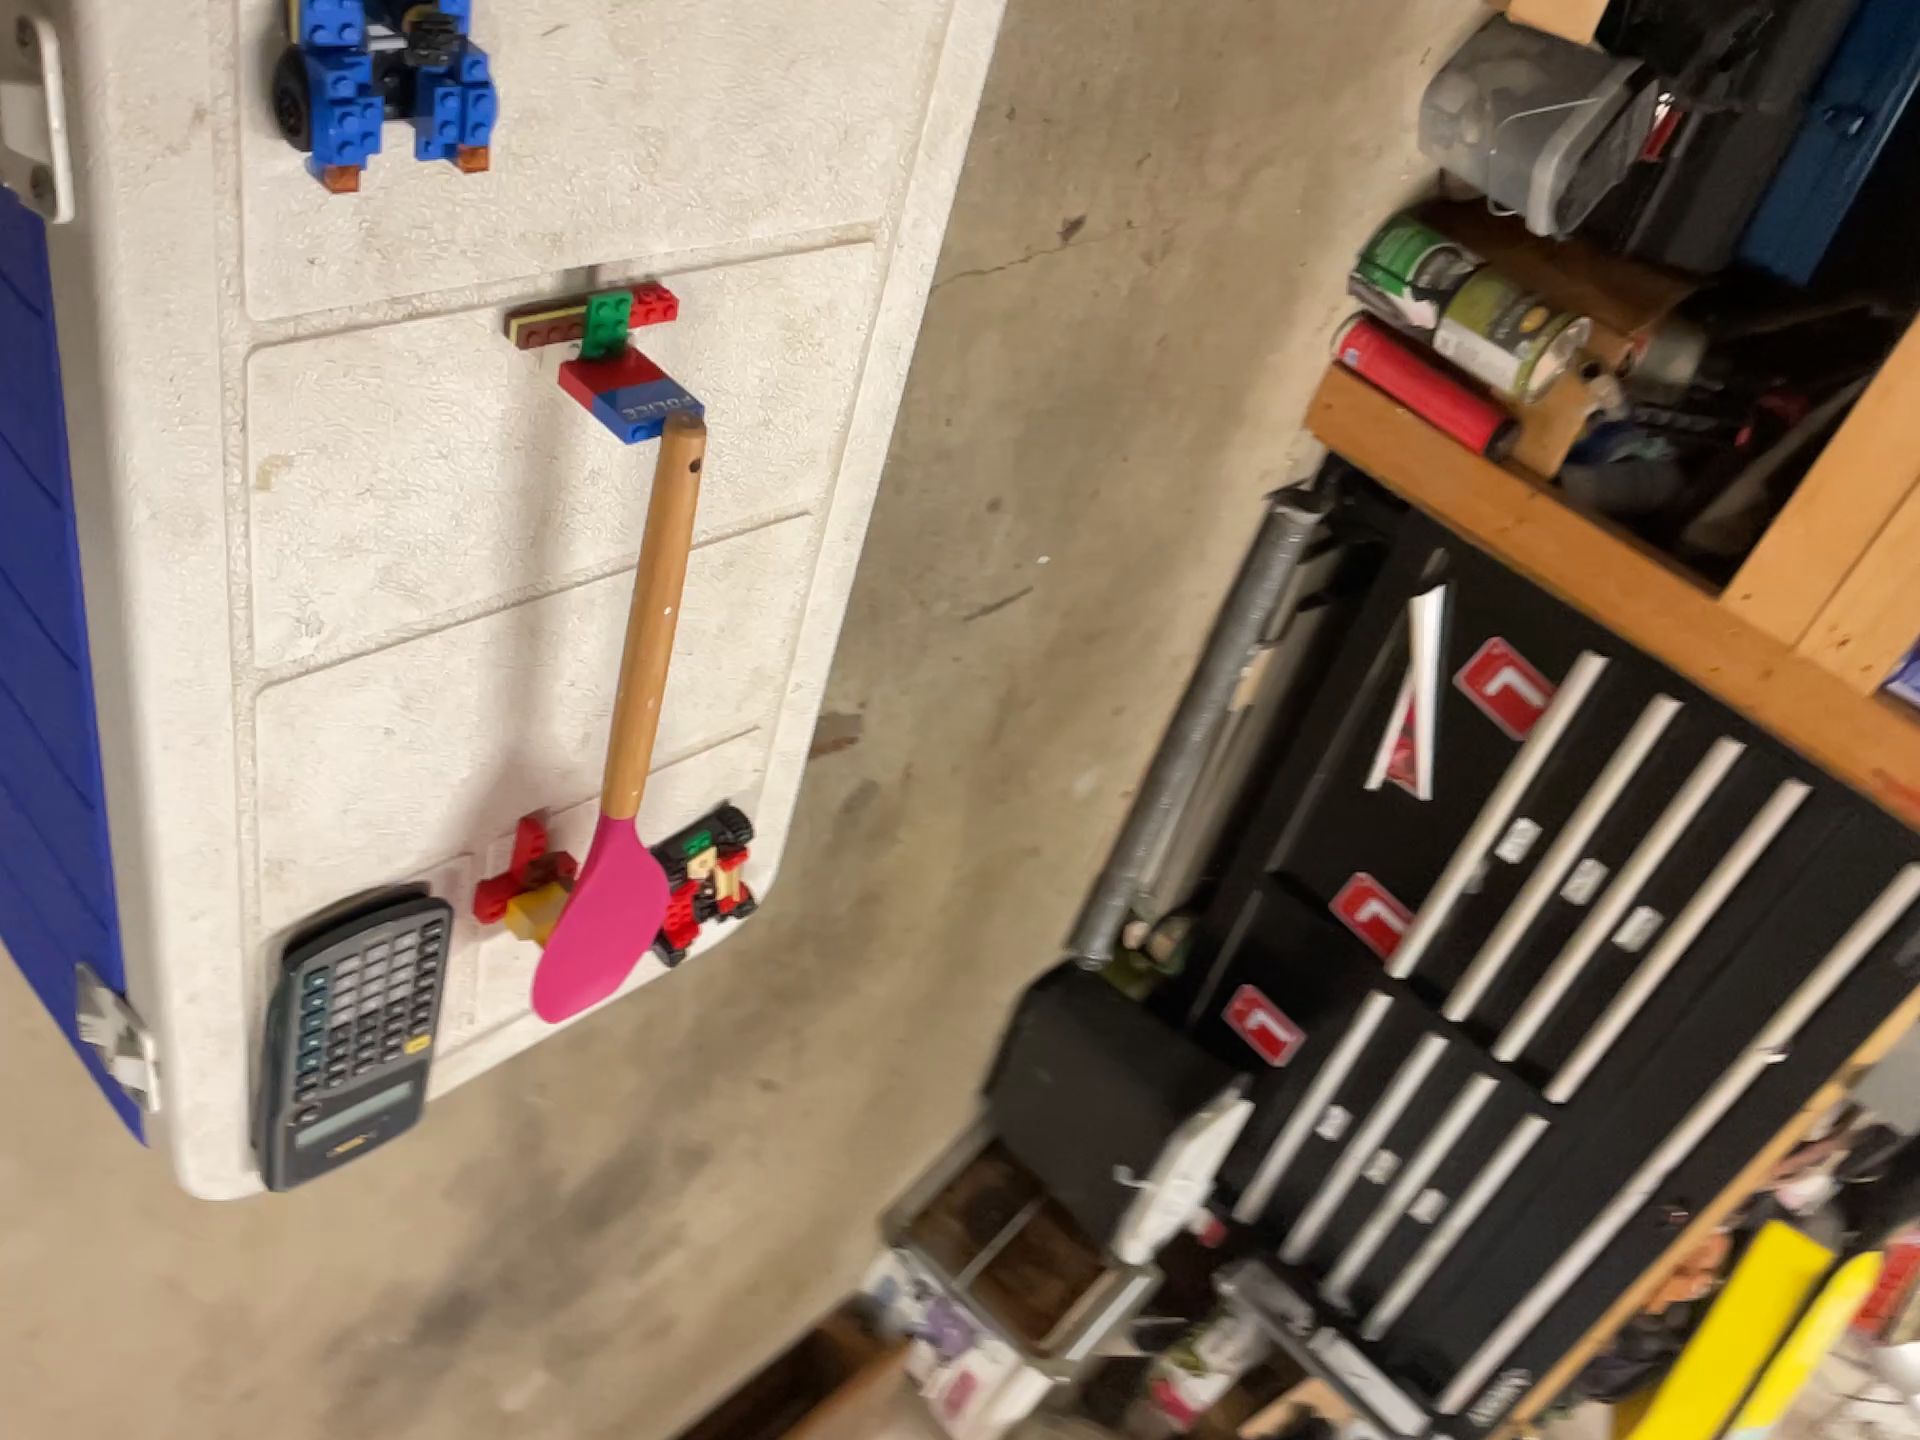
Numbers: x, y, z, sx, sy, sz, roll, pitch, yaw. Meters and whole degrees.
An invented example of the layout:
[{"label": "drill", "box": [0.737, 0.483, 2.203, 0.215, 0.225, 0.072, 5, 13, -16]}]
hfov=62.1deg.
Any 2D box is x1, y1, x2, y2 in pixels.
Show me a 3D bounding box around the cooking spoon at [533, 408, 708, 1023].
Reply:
[{"label": "cooking spoon", "box": [-0.131, 0.015, 0.625, 0.069, 0.017, 0.318, -27, 148, -41]}]
